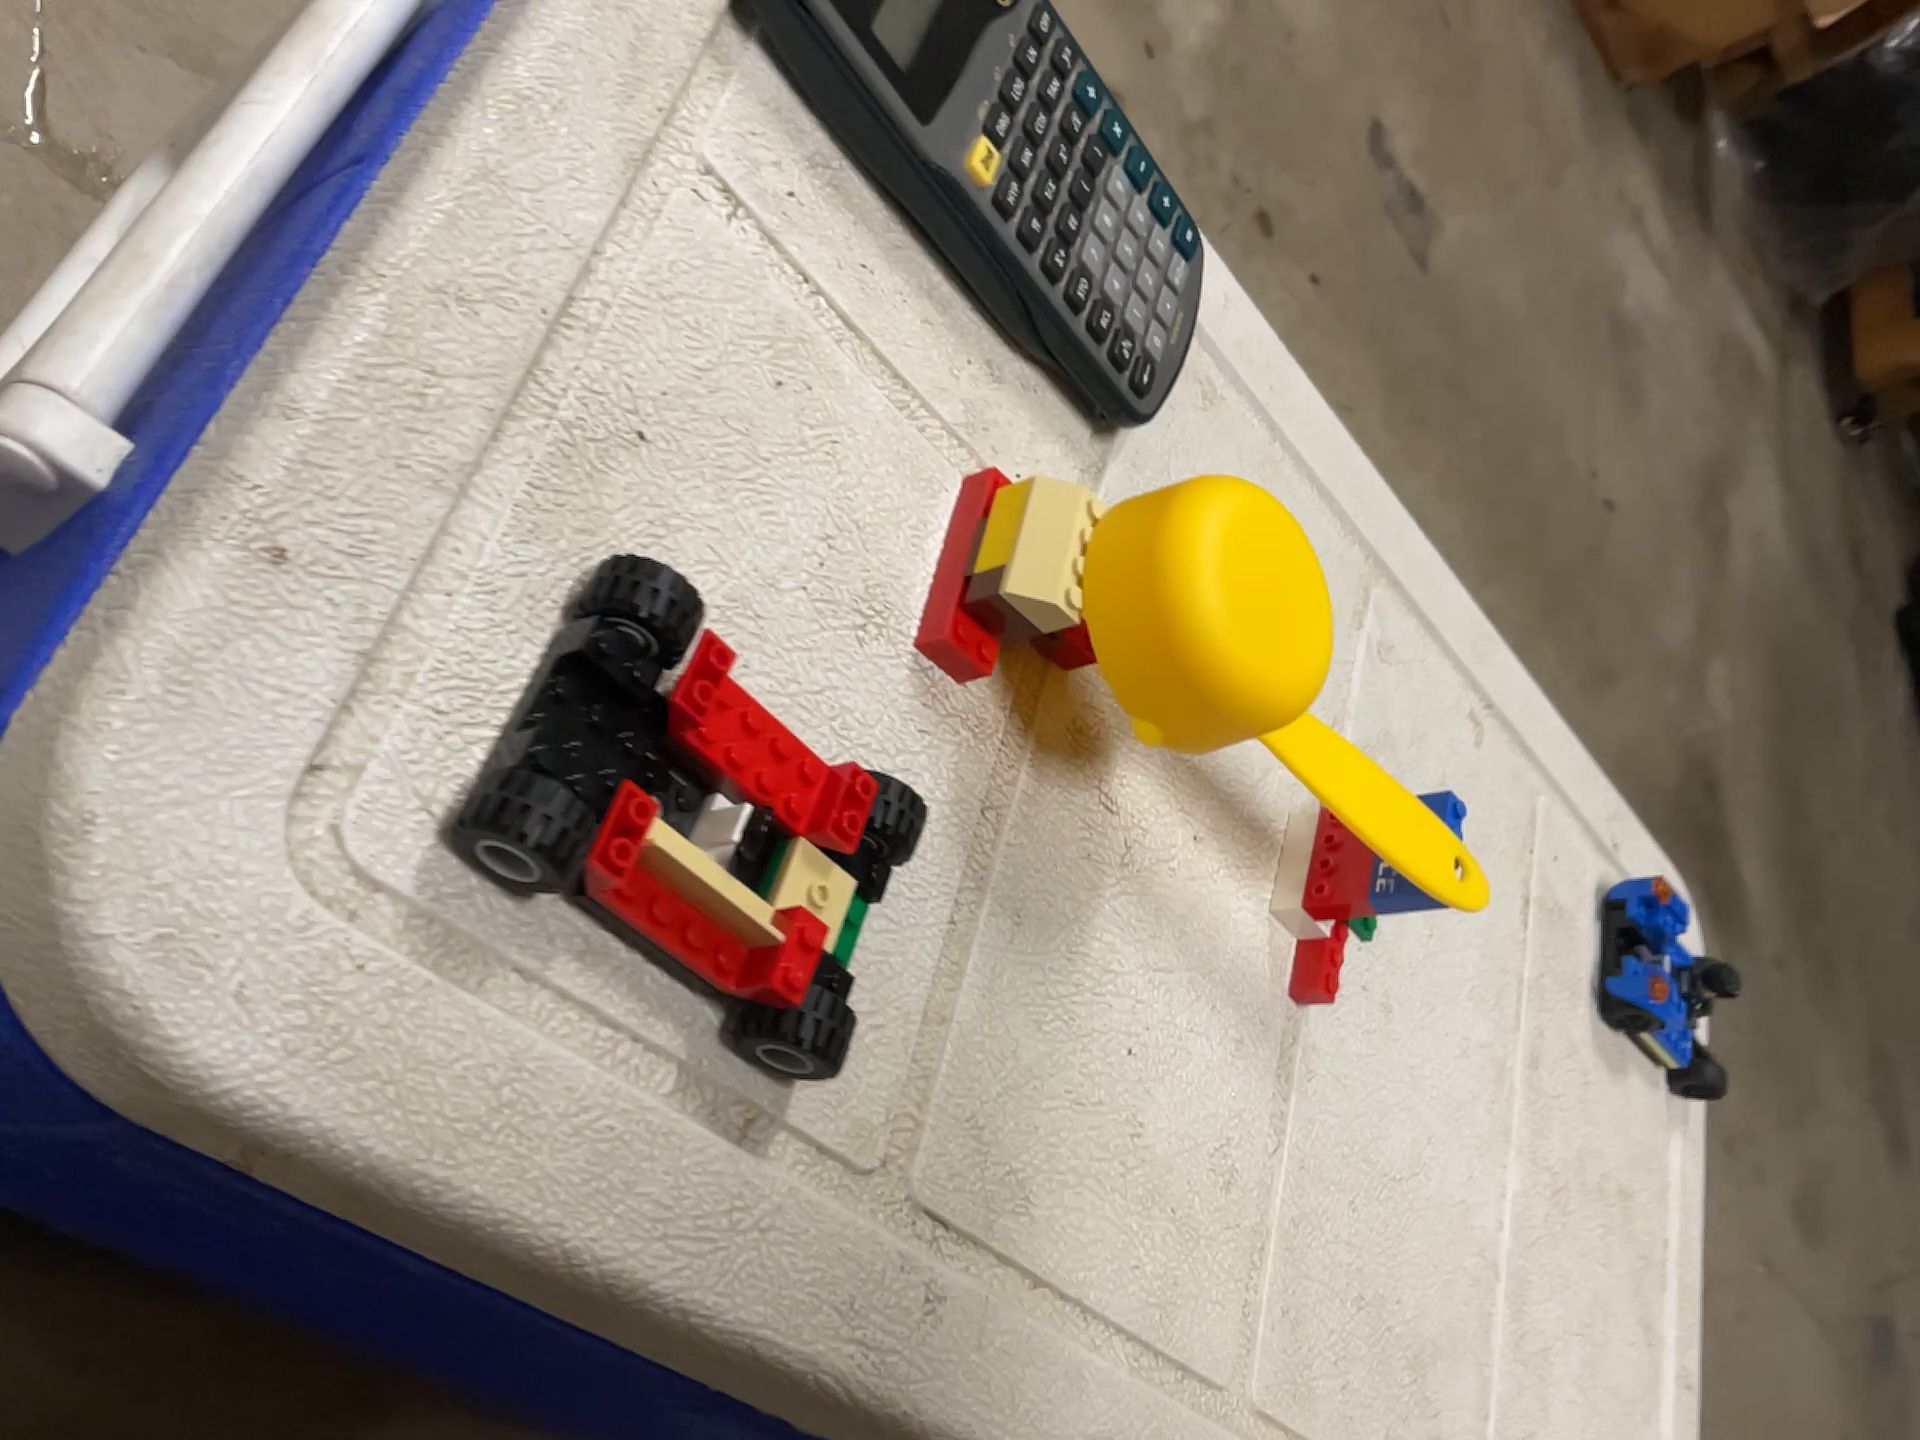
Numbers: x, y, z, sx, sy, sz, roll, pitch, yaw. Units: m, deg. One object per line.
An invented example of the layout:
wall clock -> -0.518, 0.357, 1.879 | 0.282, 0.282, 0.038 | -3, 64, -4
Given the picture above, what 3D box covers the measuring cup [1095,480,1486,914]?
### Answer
measuring cup -> 0.091, 0.002, 0.375 | 0.156, 0.029, 0.062 | 38, 53, -29
